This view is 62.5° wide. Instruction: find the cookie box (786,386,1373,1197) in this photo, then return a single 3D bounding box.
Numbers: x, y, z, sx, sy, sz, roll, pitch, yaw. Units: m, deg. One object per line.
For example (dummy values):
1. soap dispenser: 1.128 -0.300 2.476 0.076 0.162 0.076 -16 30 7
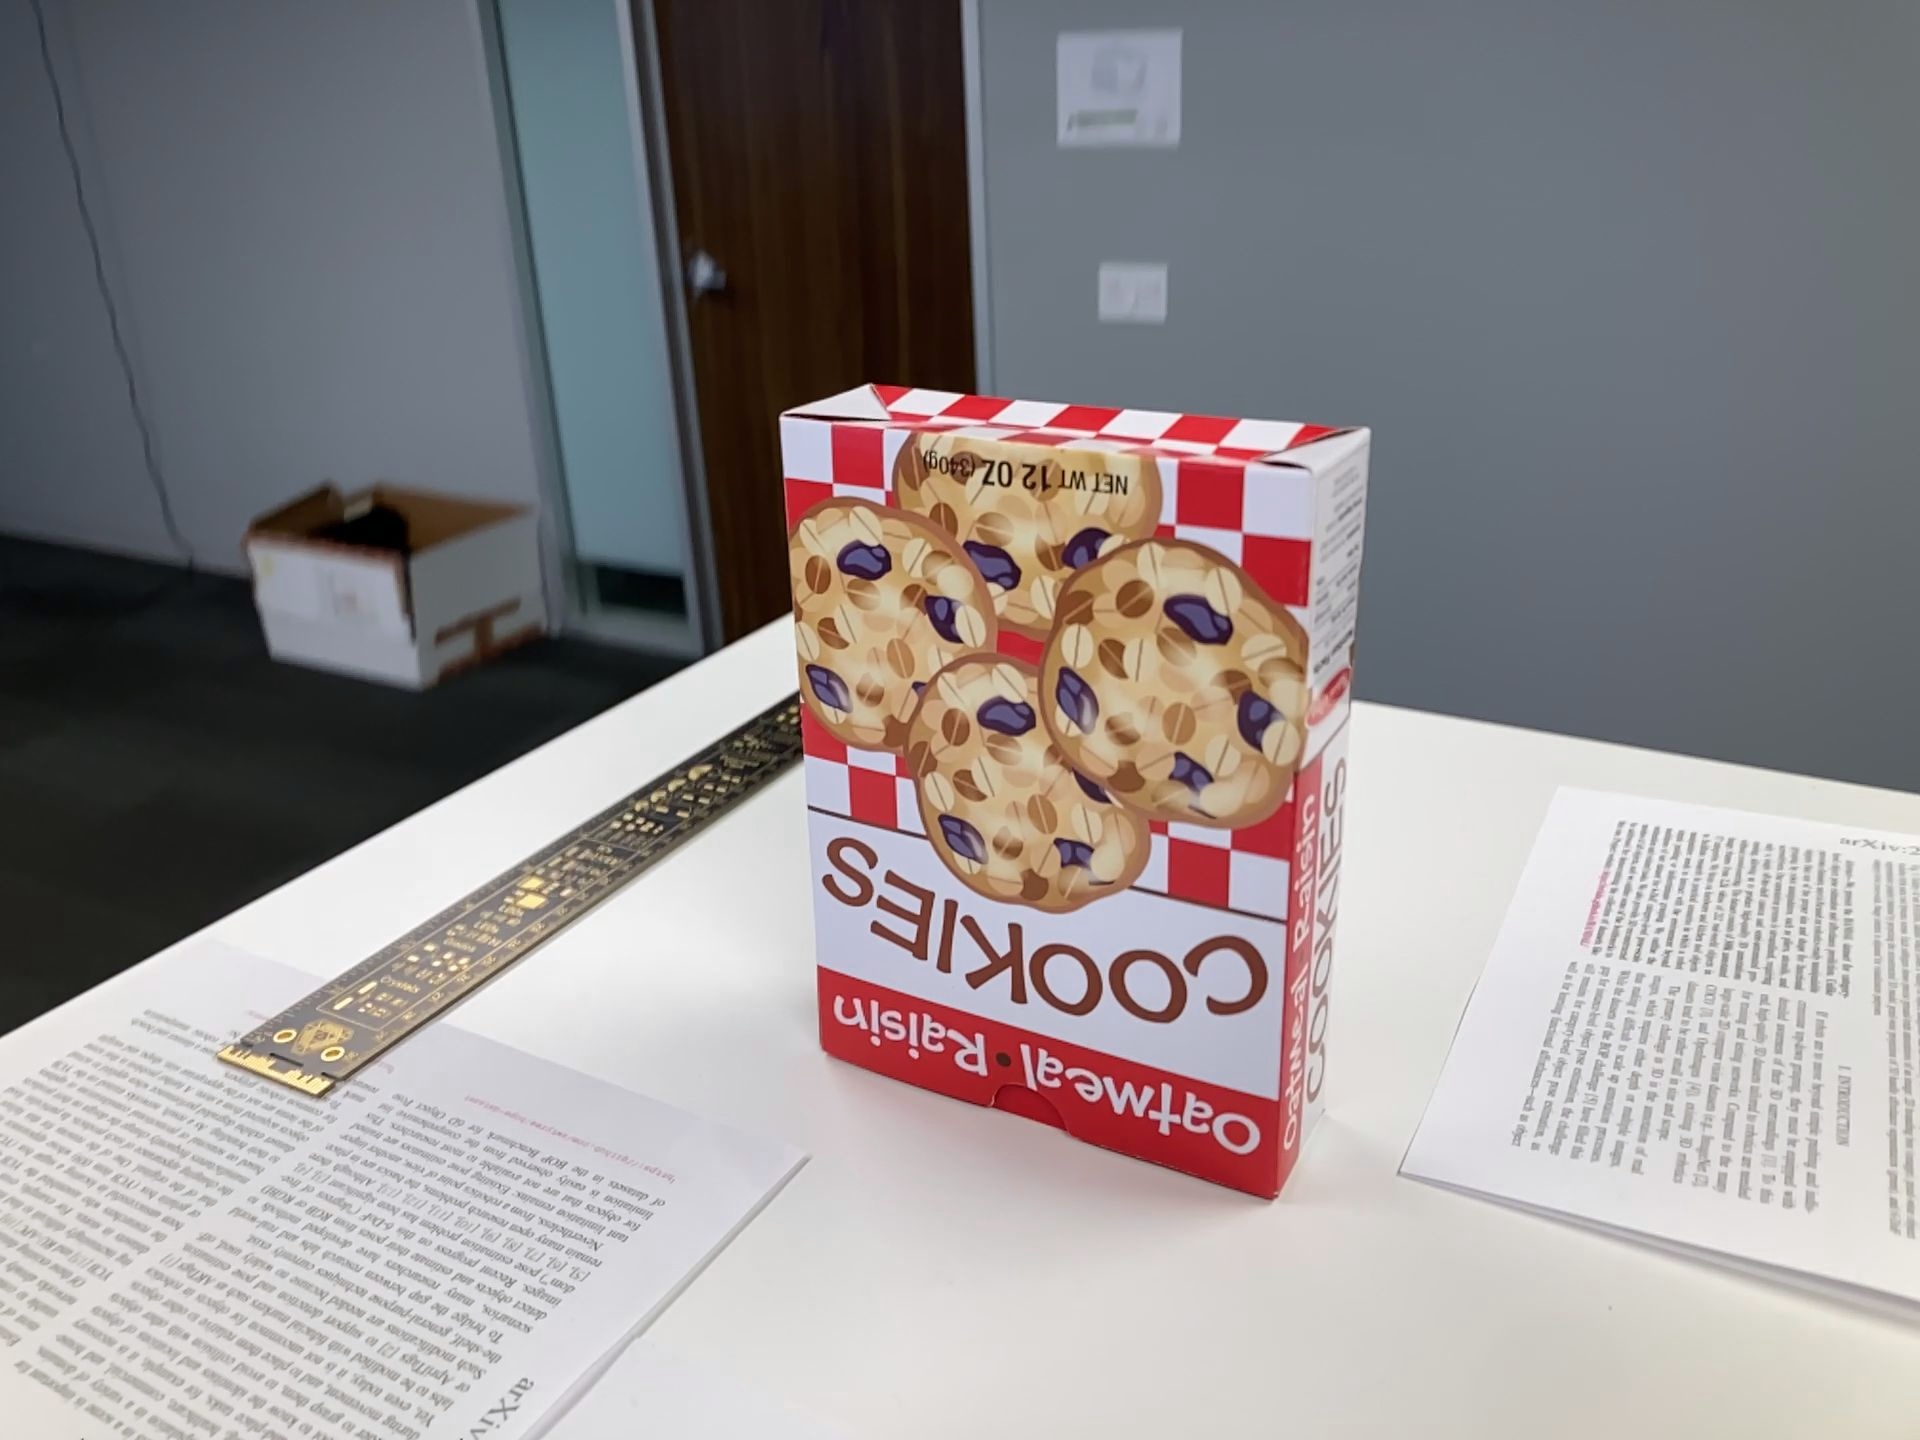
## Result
1. cookie box: 0.024 0.015 0.366 0.123 0.167 0.040 12 26 28
